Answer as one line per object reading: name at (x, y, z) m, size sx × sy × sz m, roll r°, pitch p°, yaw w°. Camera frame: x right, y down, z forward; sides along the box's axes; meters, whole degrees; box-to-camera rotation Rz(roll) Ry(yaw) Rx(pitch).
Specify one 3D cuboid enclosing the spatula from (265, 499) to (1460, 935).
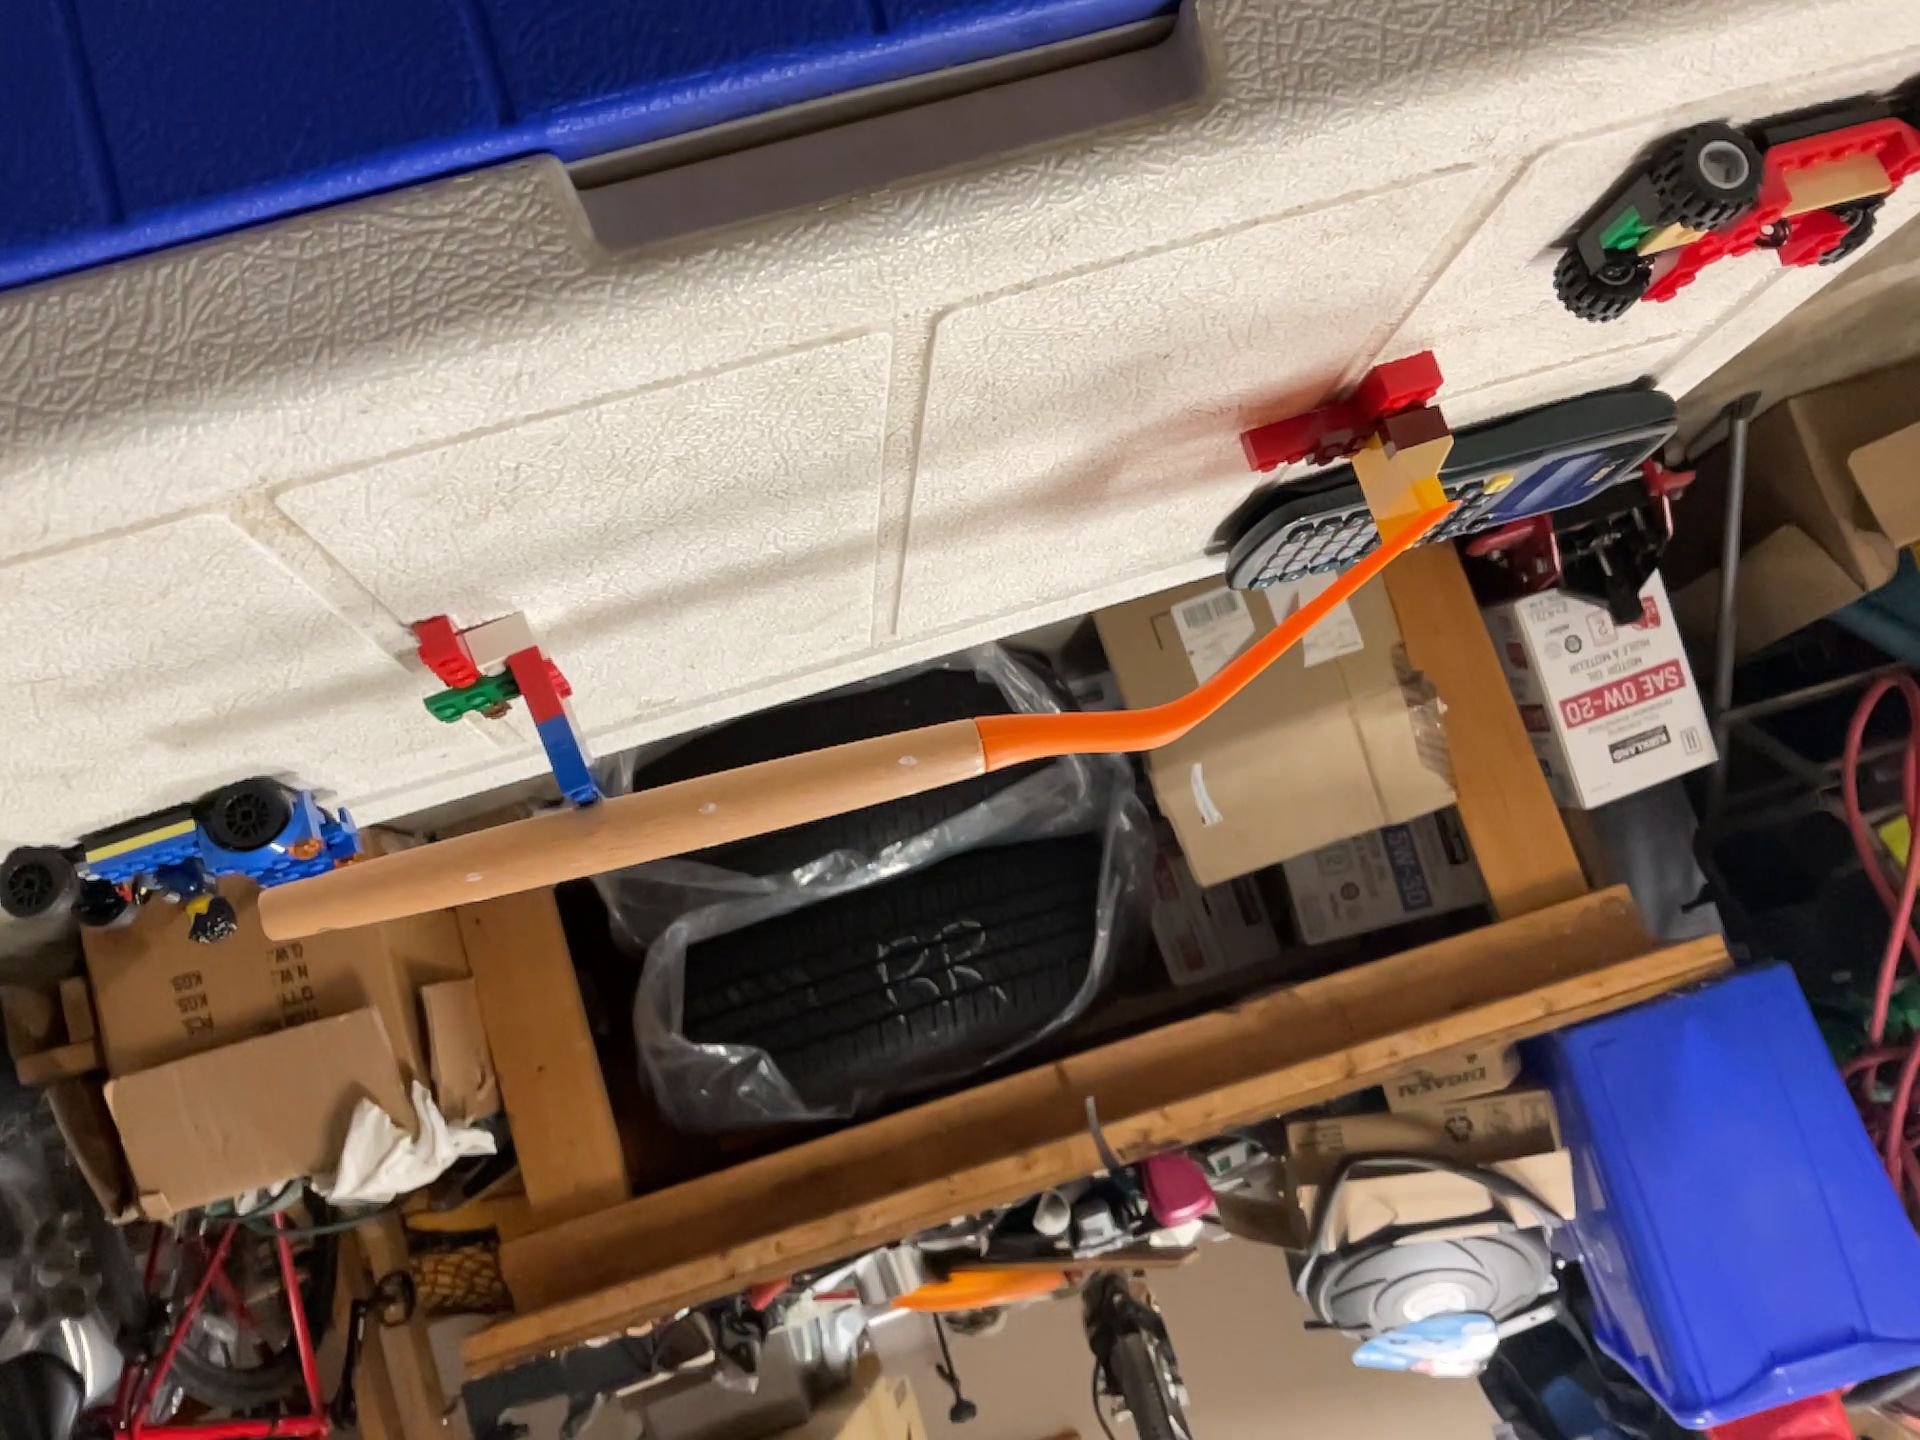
spatula at (-0.020, 0.003, 0.427) m, size 0.322 × 0.041 × 0.081 m, roll -13°, pitch 171°, yaw -8°
